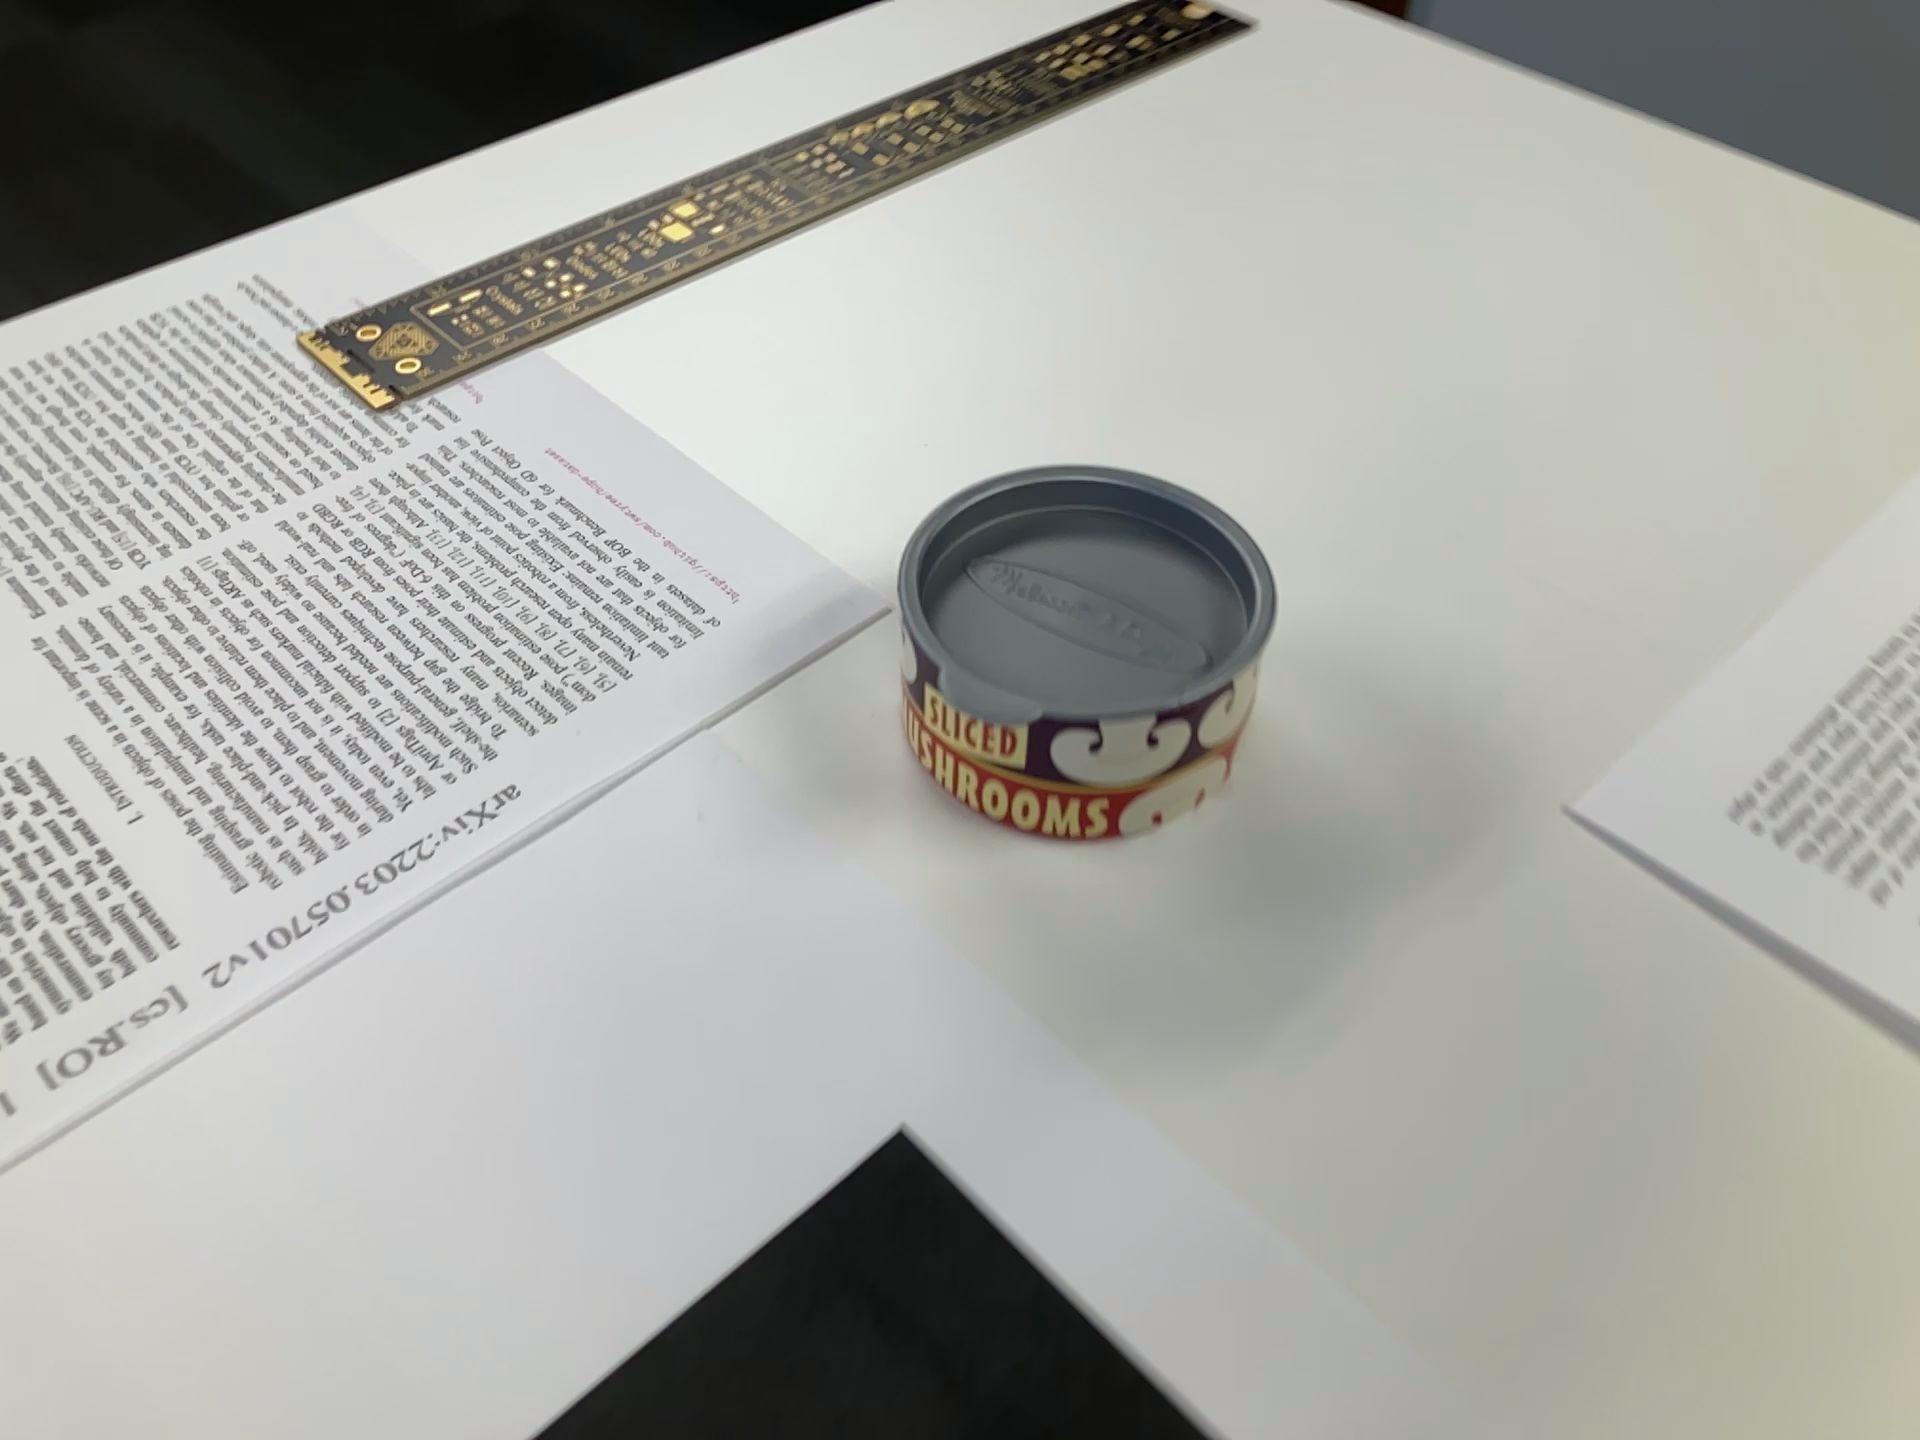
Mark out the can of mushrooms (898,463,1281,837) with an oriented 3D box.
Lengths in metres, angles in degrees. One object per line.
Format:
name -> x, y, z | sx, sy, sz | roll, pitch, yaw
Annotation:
can of mushrooms -> 0.020, -0.012, 0.284 | 0.071, 0.033, 0.071 | 1, 47, -1
